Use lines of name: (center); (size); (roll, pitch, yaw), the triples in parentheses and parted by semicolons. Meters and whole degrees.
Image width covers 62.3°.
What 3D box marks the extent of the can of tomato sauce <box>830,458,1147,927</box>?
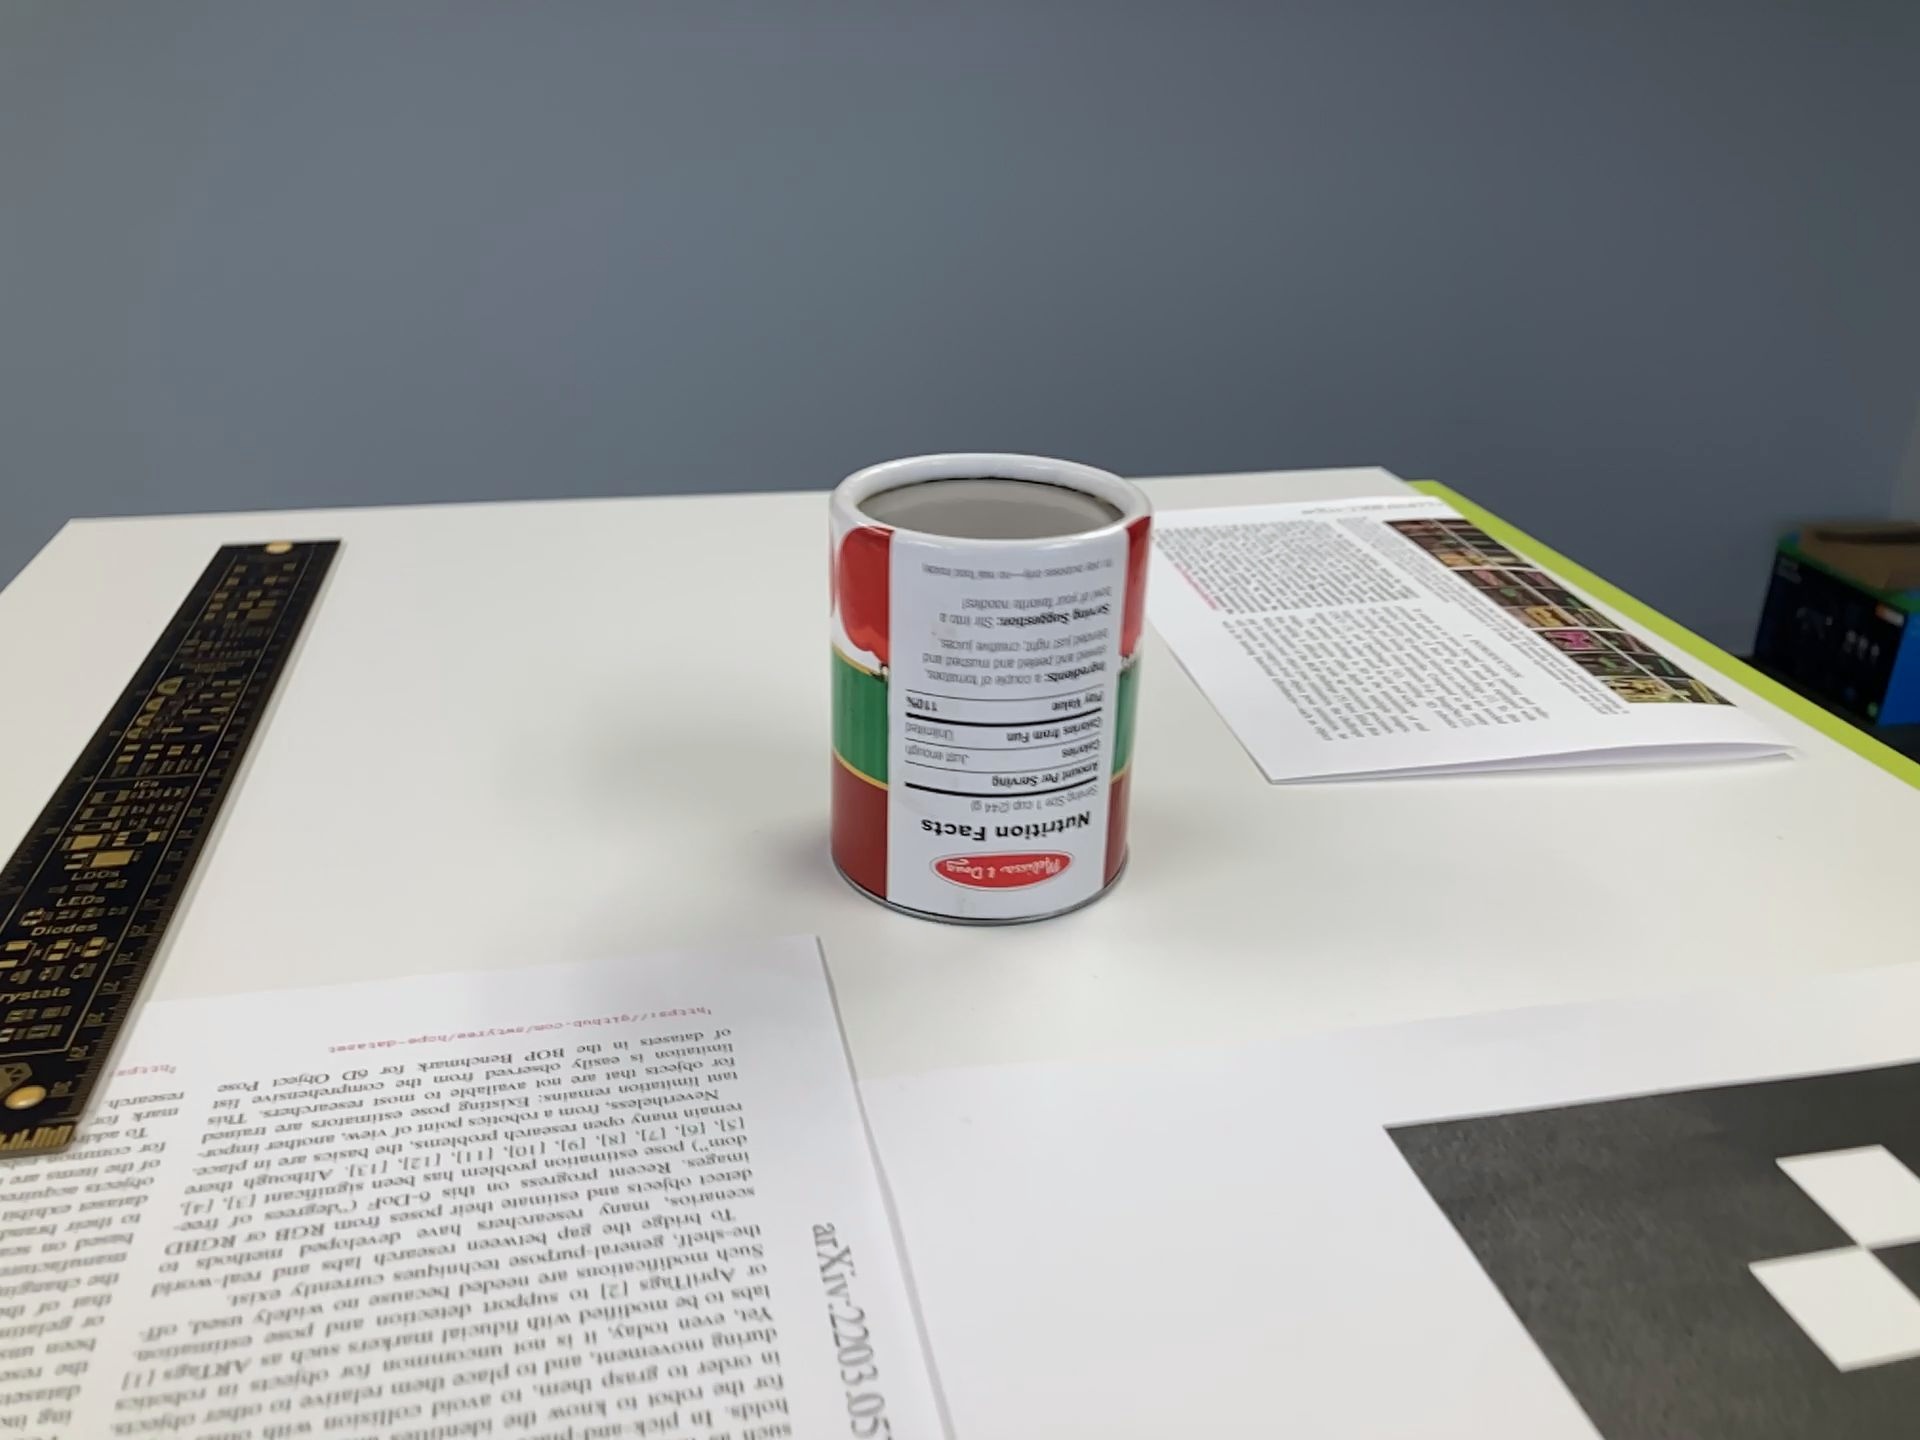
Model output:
can of tomato sauce: (0.006, -0.009, 0.343); (0.071, 0.083, 0.071); (-1, 24, 0)
